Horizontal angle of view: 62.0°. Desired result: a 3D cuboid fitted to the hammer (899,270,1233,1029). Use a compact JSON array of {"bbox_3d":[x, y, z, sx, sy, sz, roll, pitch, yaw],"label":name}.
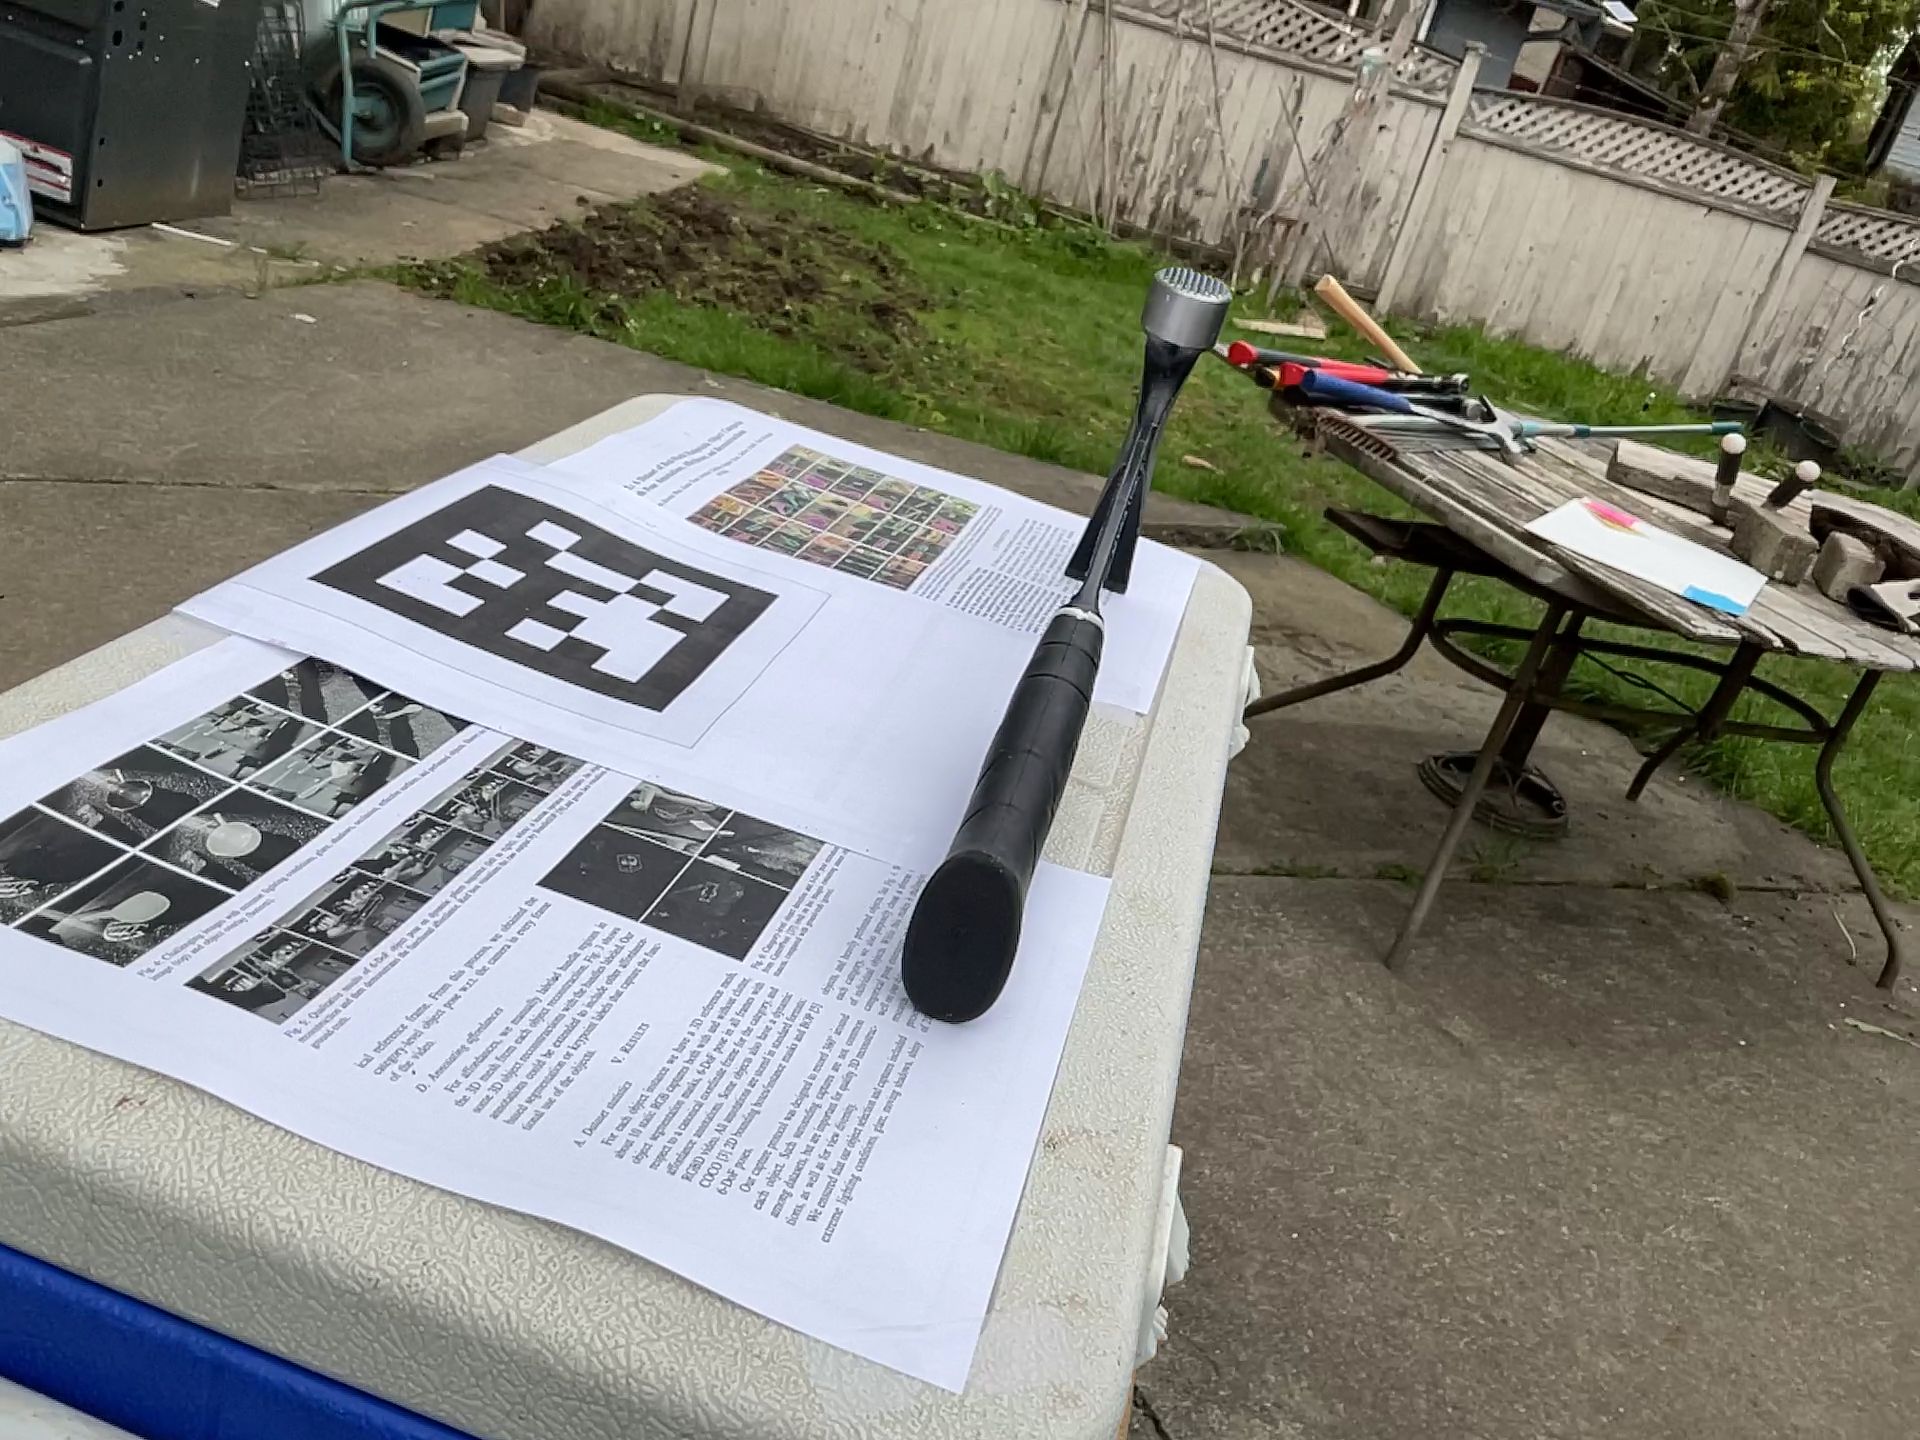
[{"bbox_3d":[0.043,-0.036,0.580,0.036,0.149,0.409,19,34,4],"label":"hammer"}]
